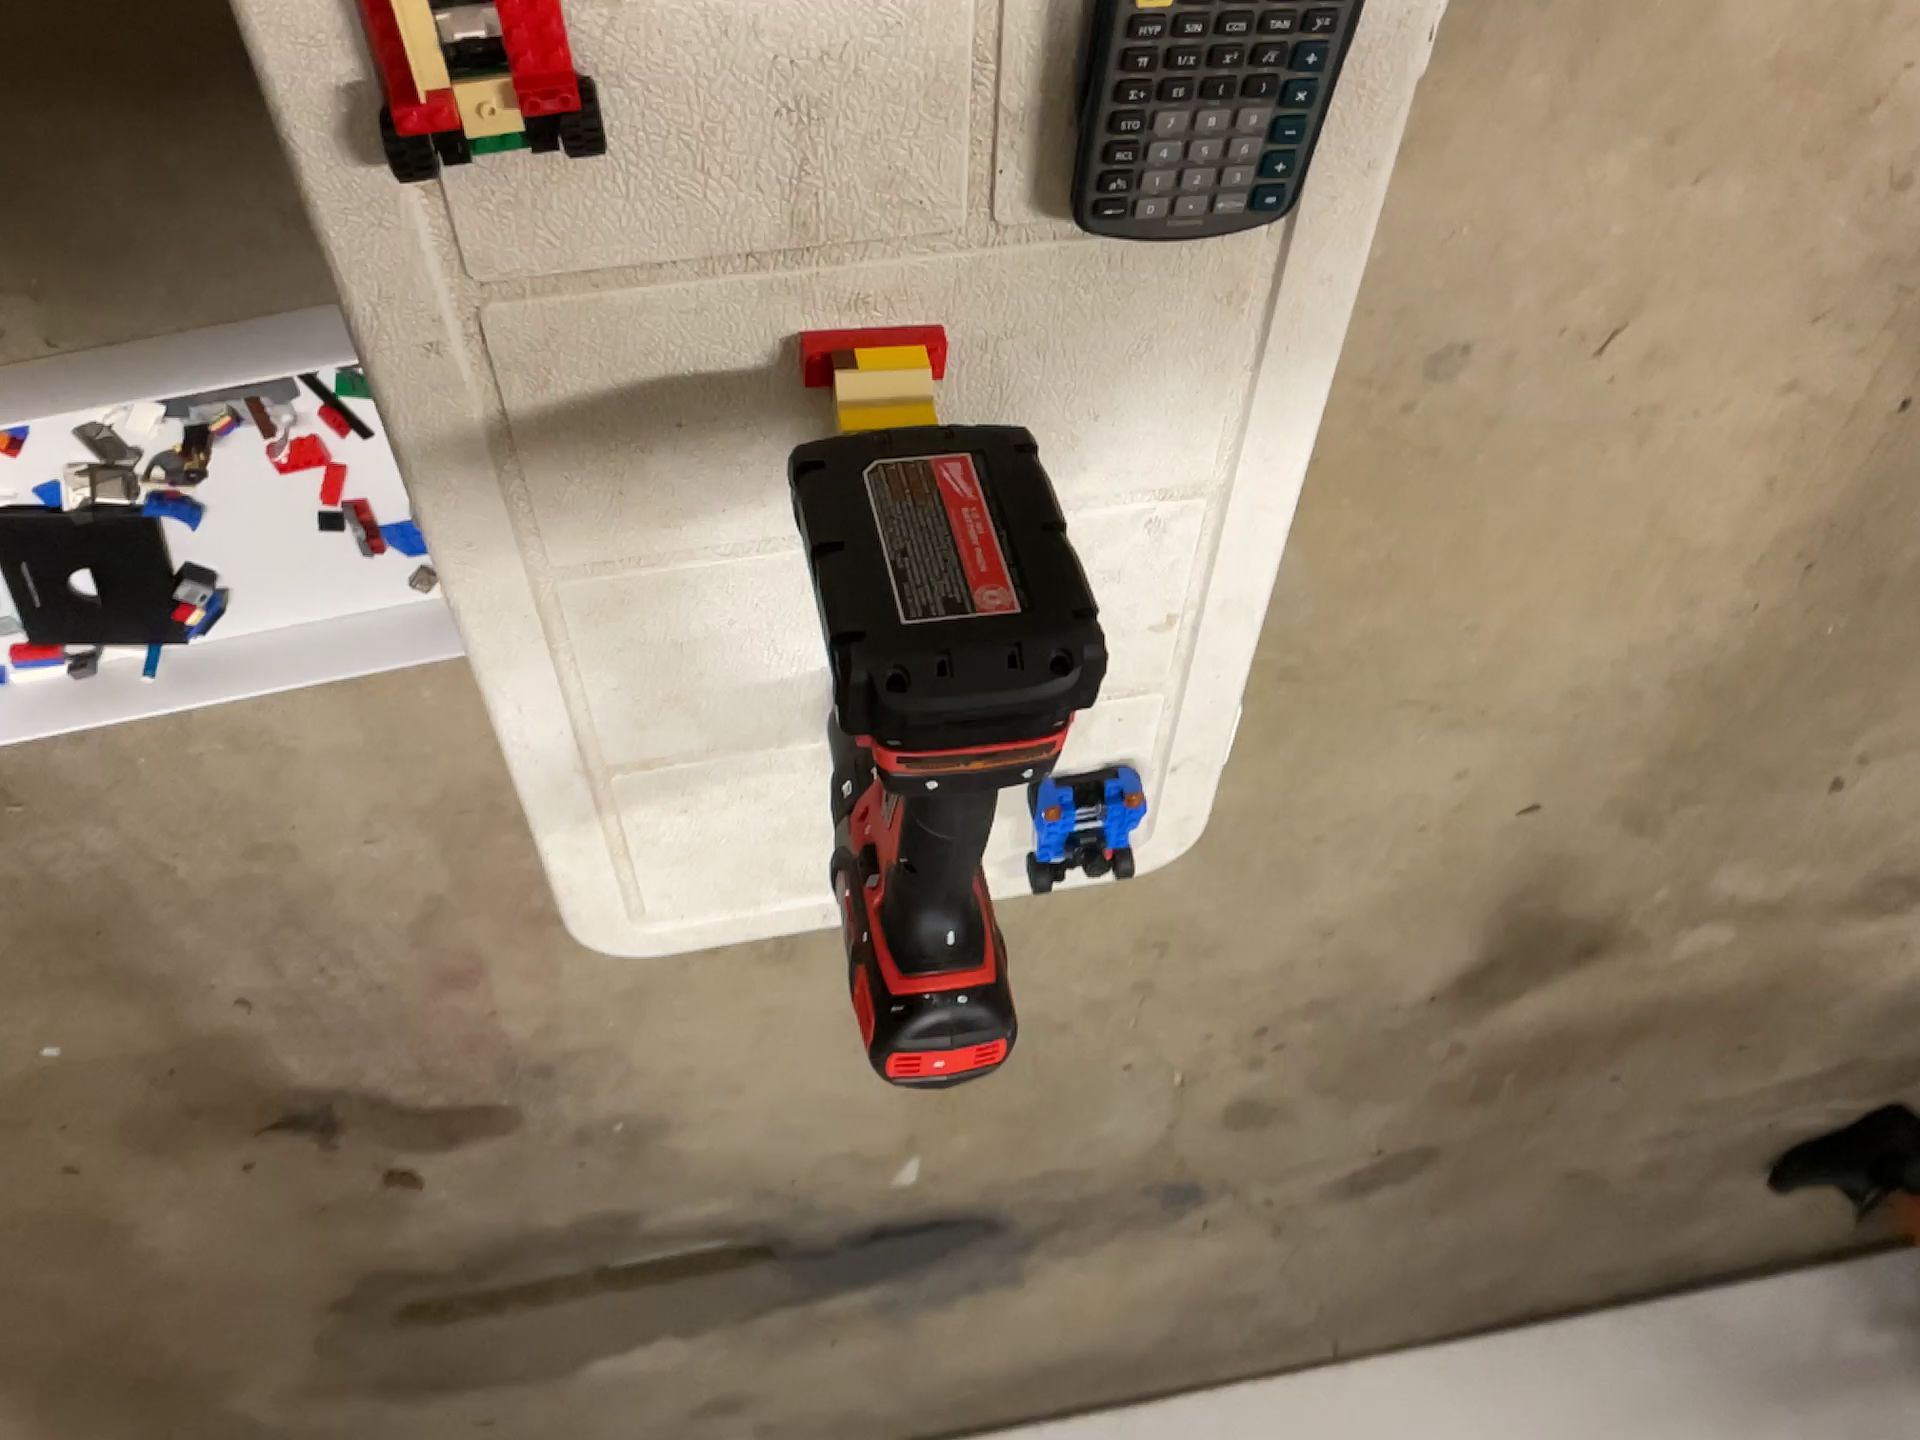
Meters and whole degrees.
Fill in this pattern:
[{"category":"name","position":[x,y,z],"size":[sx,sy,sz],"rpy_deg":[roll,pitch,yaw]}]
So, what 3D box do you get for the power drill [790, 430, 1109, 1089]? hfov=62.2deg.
[{"category":"power drill","position":[-0.018,0.003,0.581],"size":[0.080,0.188,0.226],"rpy_deg":[-7,139,-12]}]
